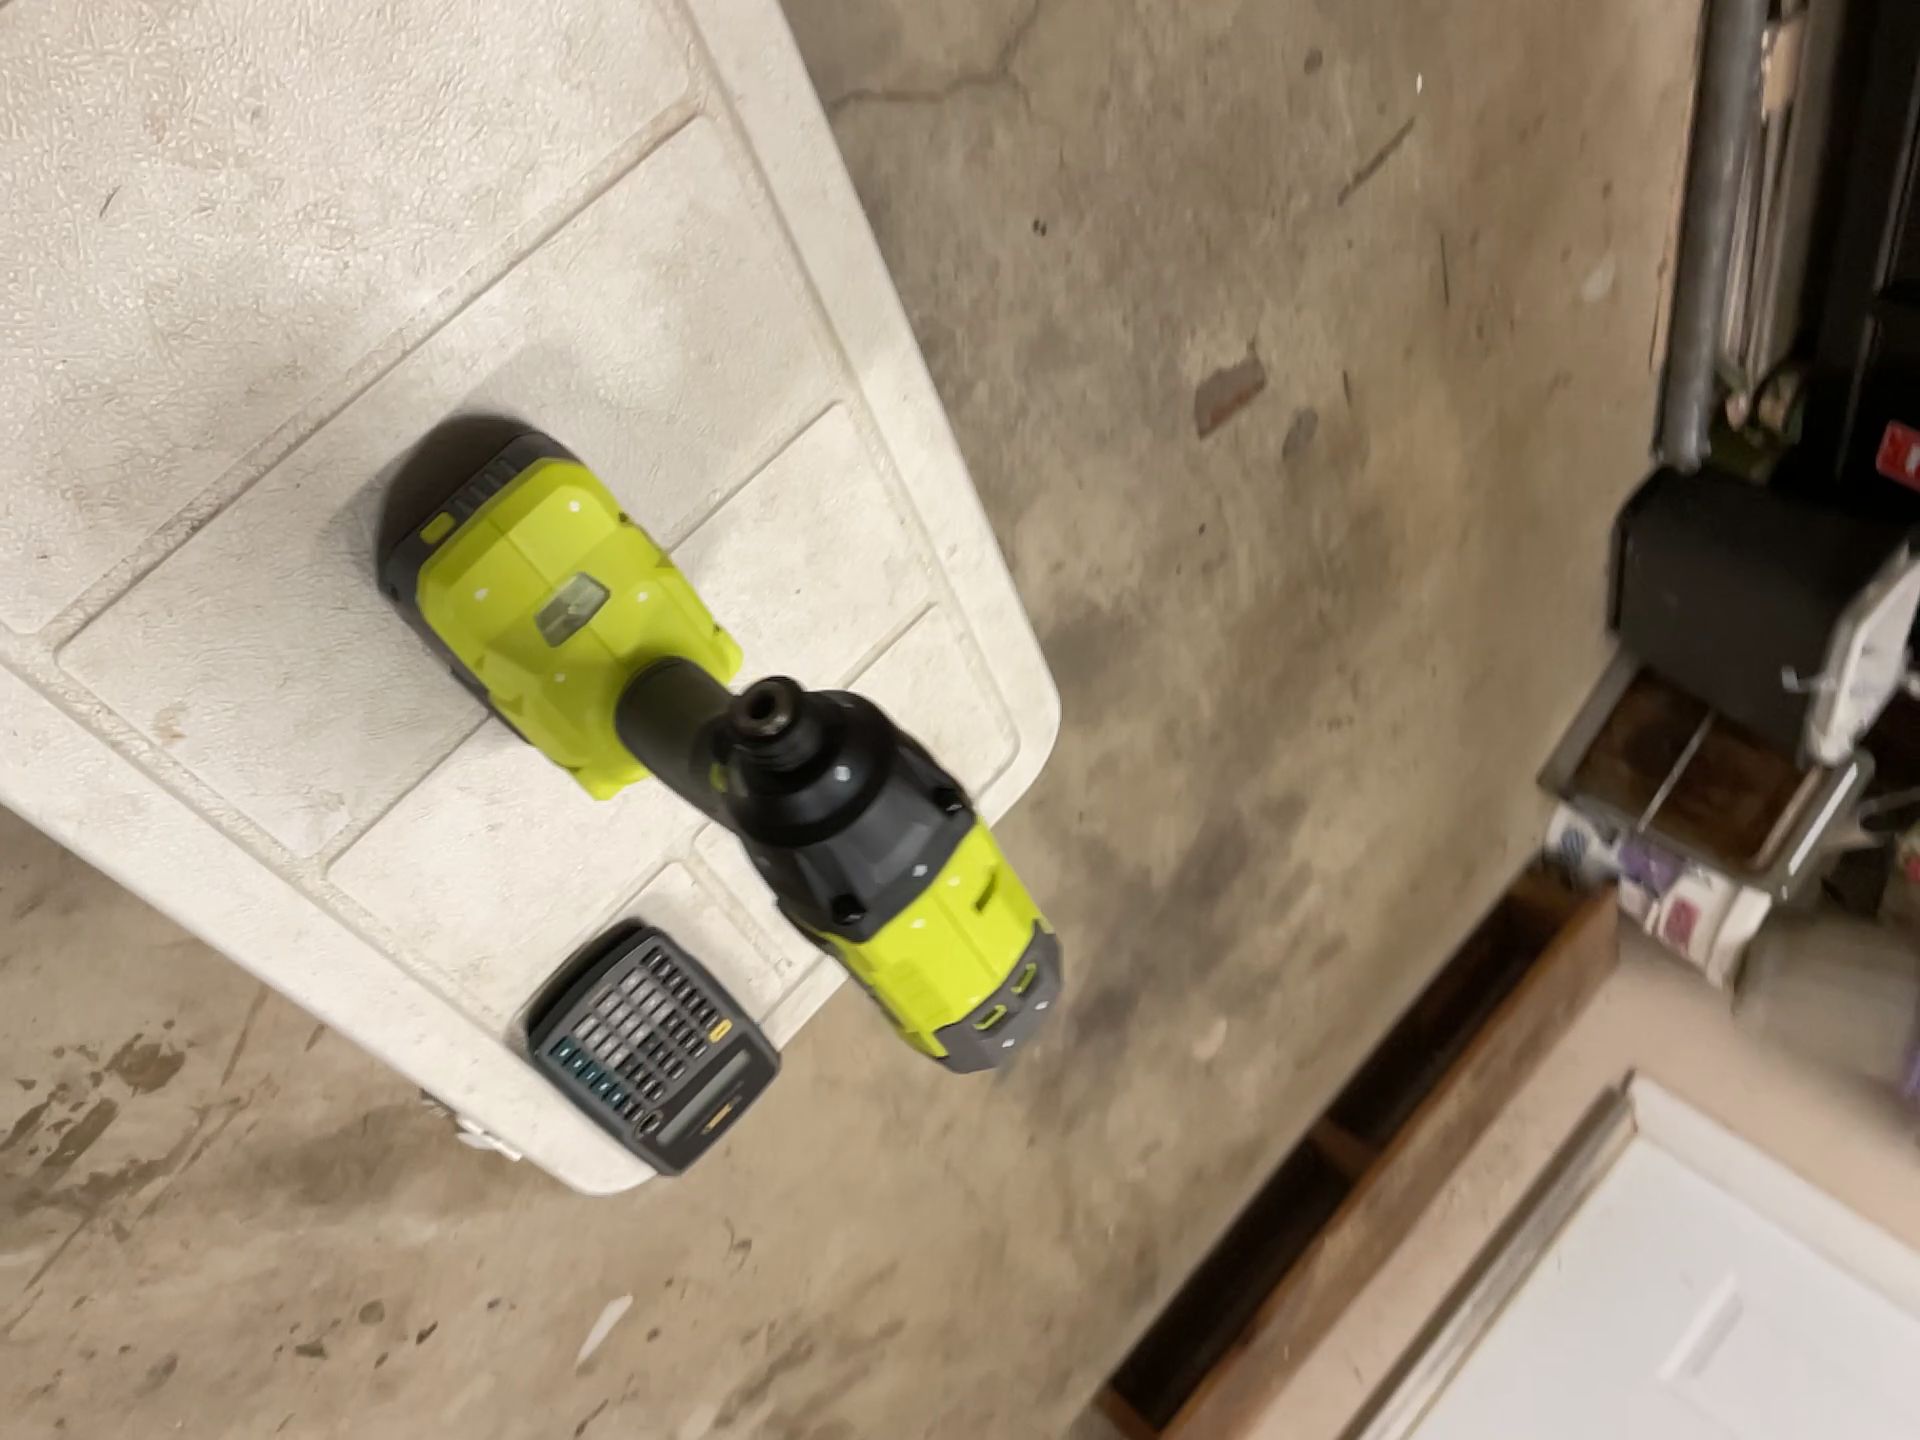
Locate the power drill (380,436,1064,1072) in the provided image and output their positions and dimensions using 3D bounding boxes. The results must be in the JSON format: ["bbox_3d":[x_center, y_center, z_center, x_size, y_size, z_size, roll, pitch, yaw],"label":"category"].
[{"bbox_3d":[-0.076,0.003,0.494,0.080,0.223,0.171,-48,144,-13],"label":"power drill"}]
